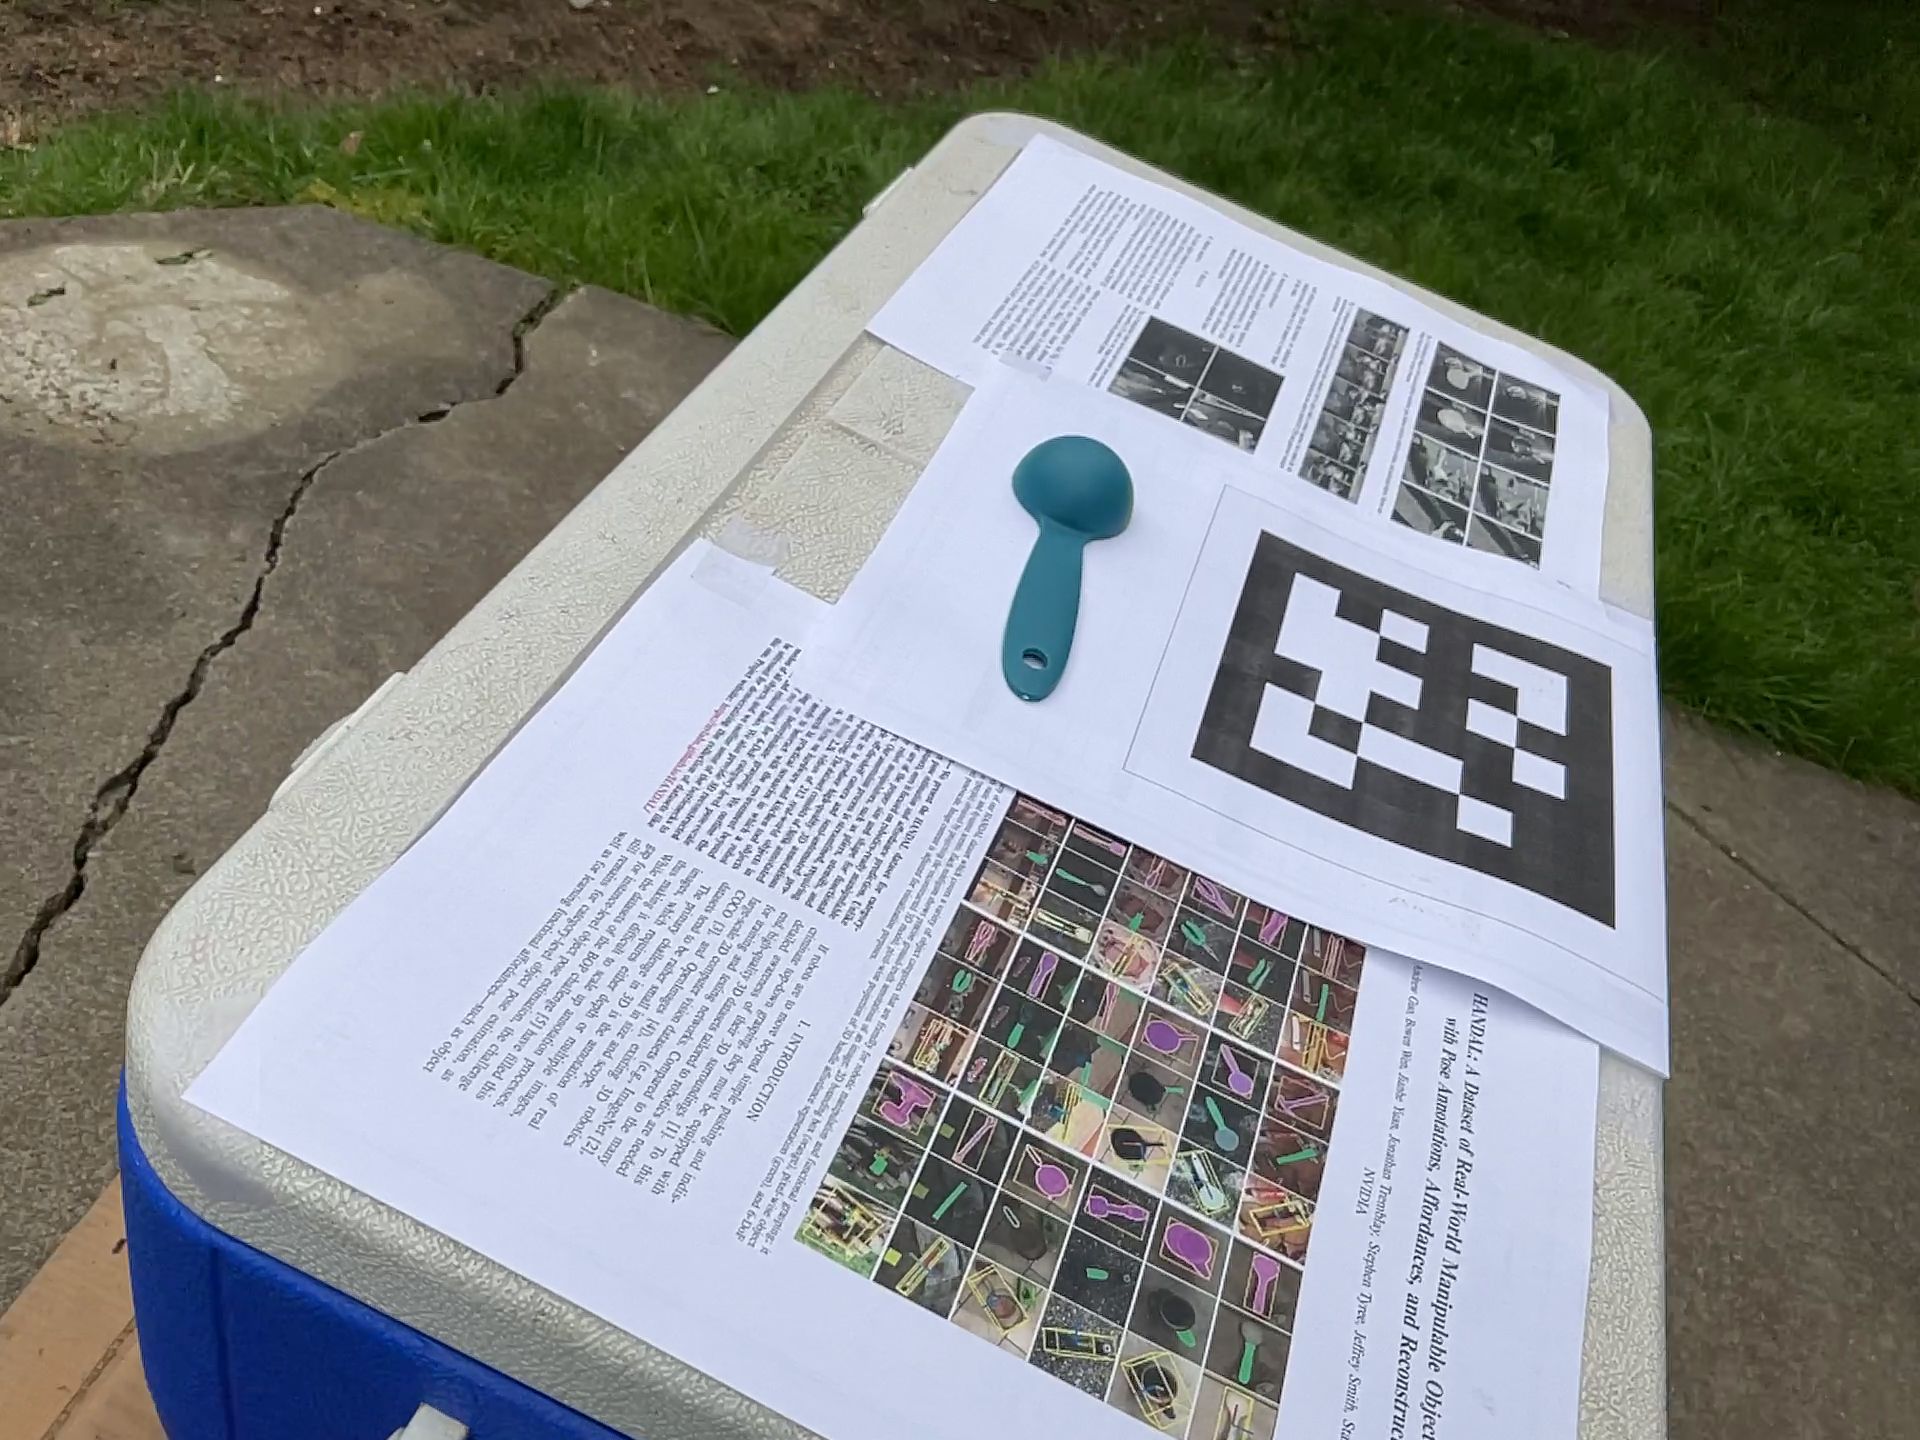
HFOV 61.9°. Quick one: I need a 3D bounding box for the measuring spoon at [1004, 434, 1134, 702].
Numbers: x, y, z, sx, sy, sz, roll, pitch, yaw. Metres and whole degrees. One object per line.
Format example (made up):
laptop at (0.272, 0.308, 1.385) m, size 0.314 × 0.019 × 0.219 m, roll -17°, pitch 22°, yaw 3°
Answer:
measuring spoon at (0.033, -0.053, 0.500) m, size 0.042 × 0.021 × 0.129 m, roll 23°, pitch 42°, yaw -8°
